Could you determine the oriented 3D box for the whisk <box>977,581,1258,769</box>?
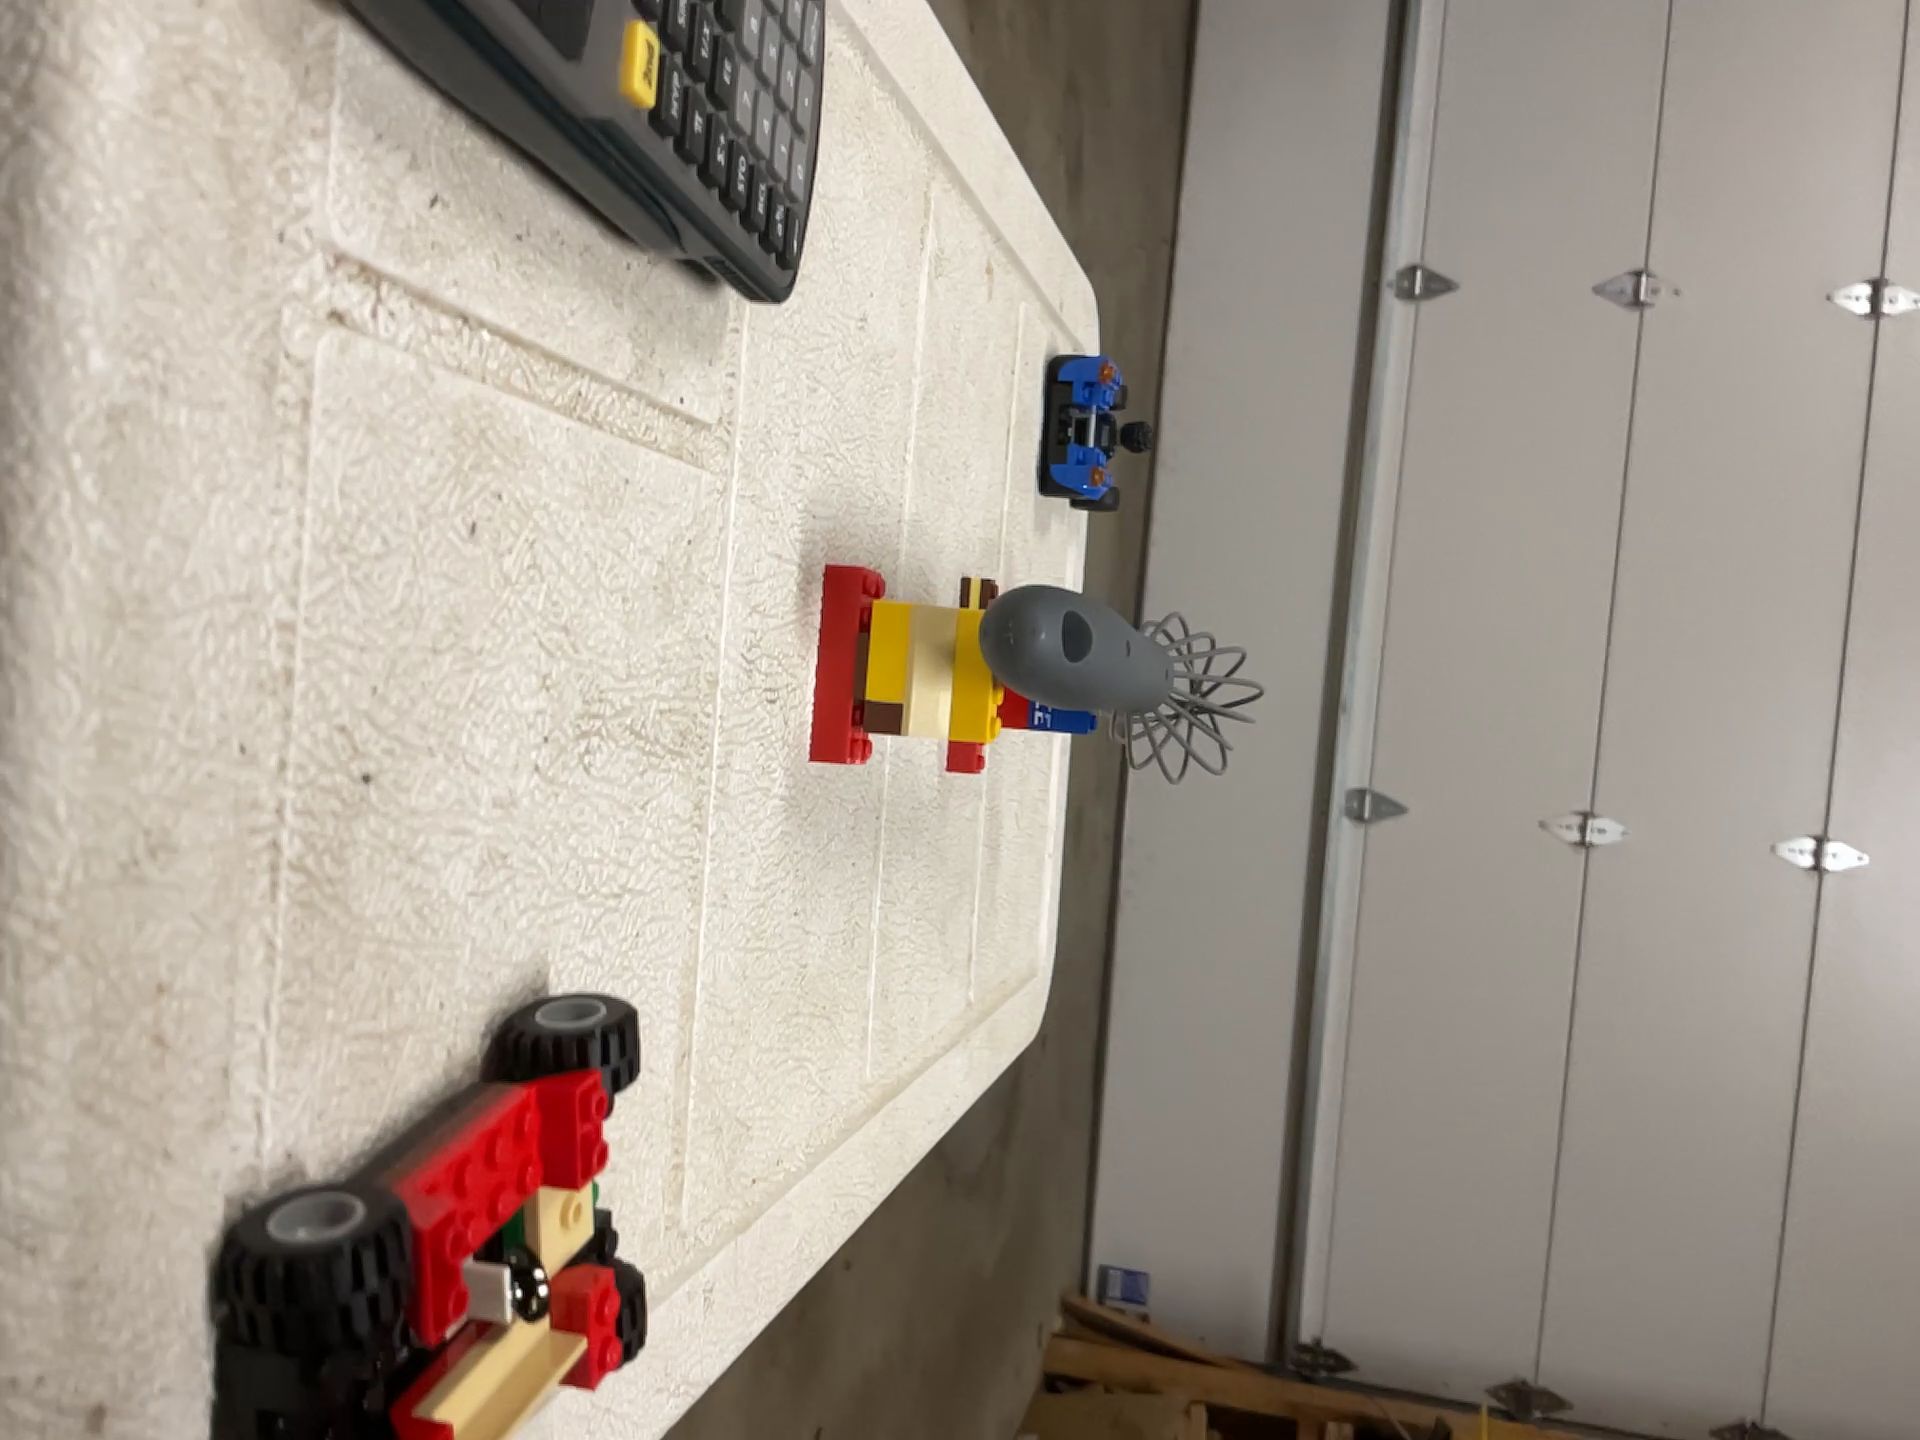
[{"bbox_3d":[0.047,-0.015,0.454,0.239,0.055,0.055,12,81,-72],"label":"whisk"}]
